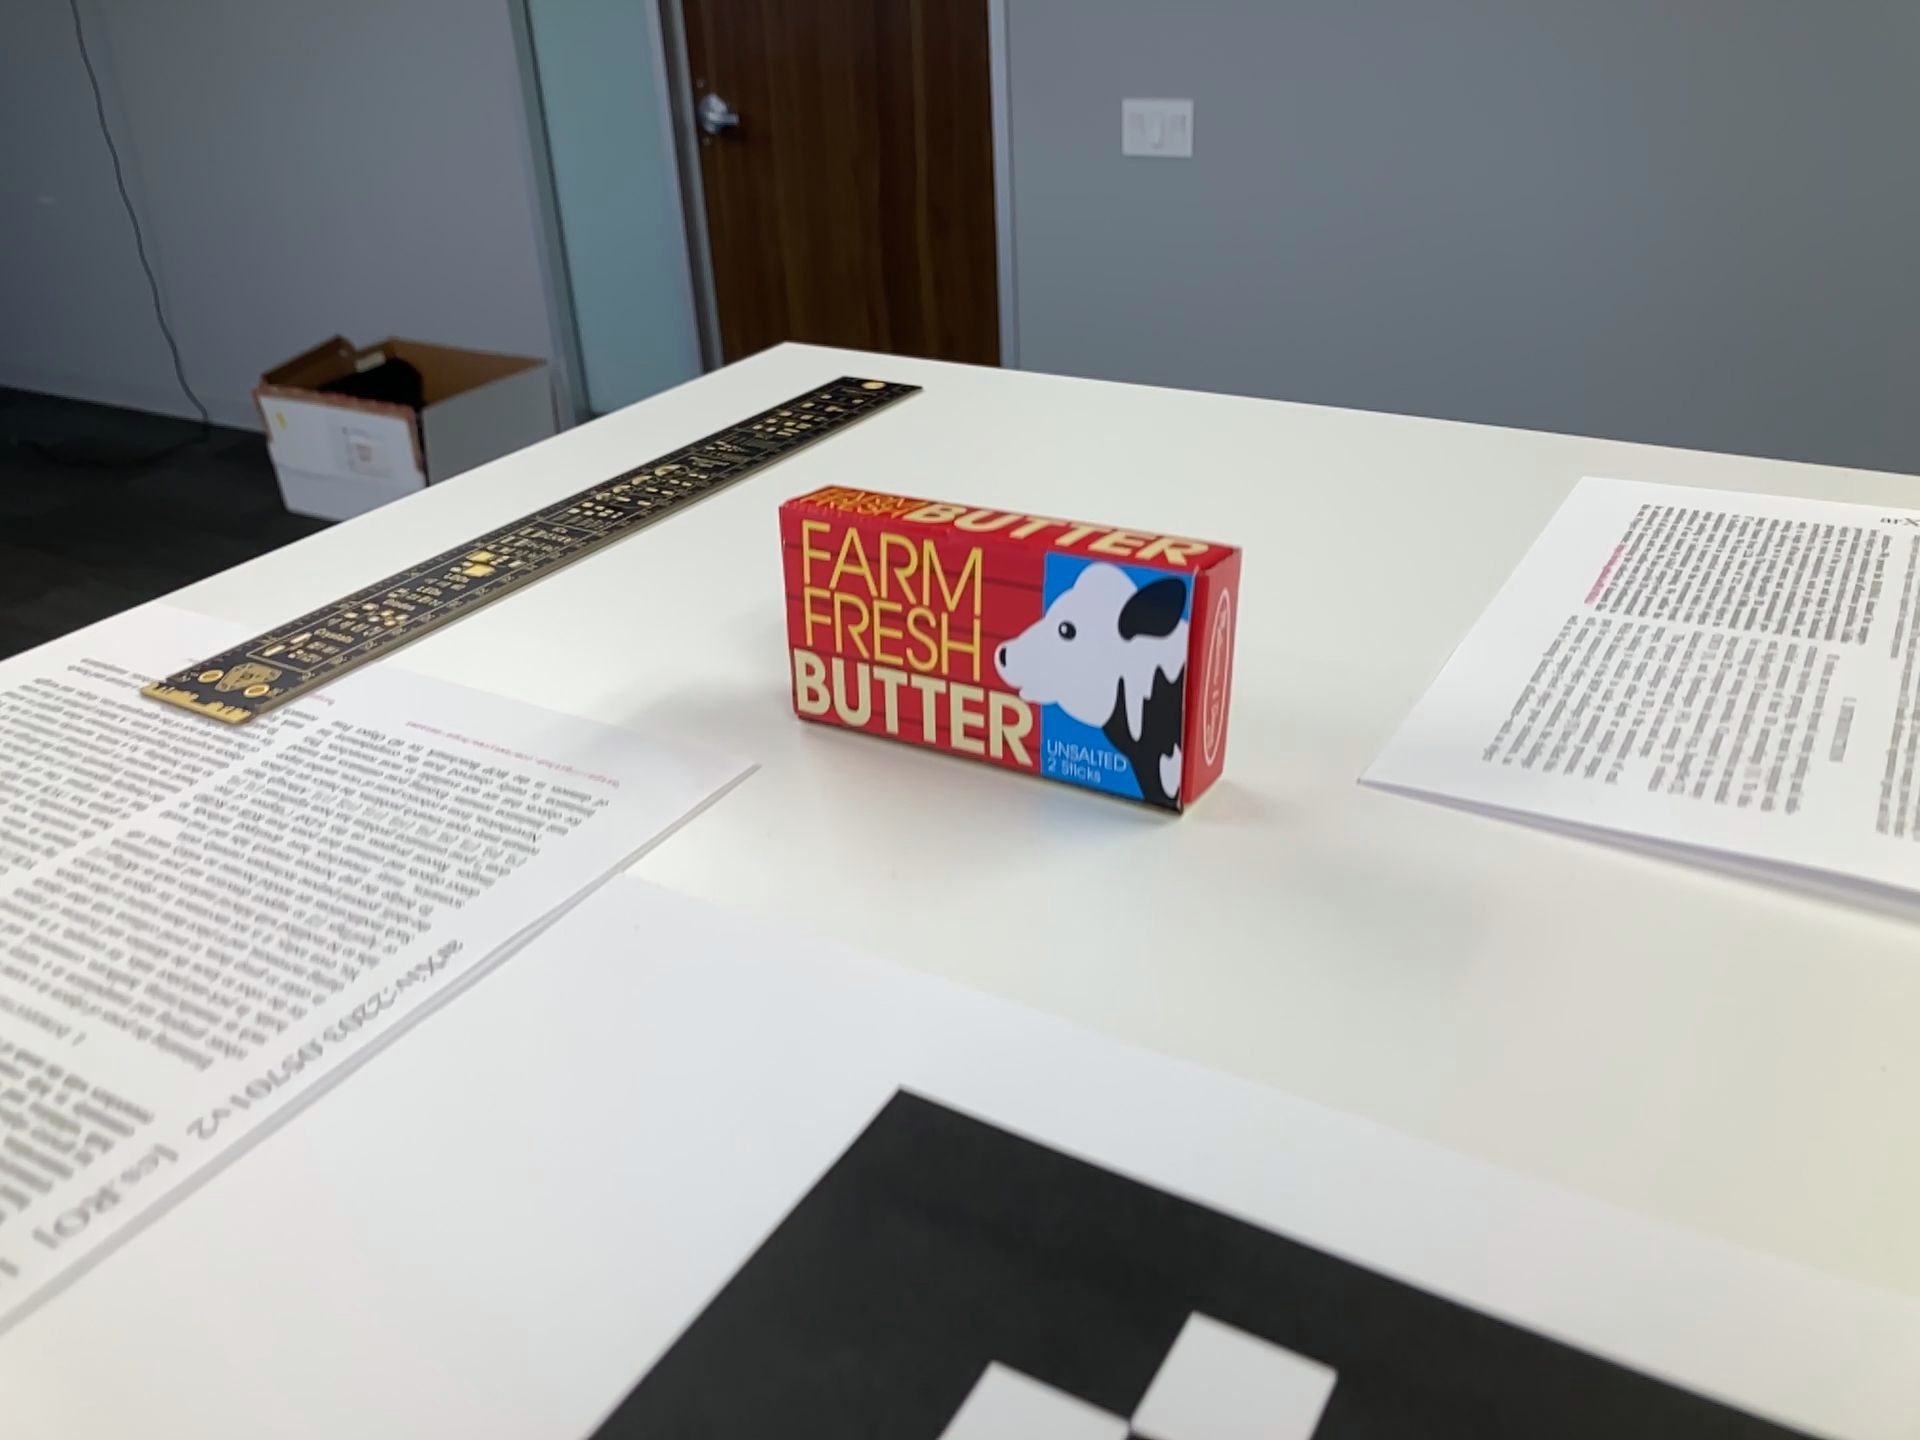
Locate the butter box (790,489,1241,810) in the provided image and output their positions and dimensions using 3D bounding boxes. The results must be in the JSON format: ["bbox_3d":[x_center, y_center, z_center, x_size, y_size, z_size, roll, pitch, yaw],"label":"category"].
[{"bbox_3d":[0.009,-0.019,0.355,0.103,0.053,0.024,14,26,27],"label":"butter box"}]
